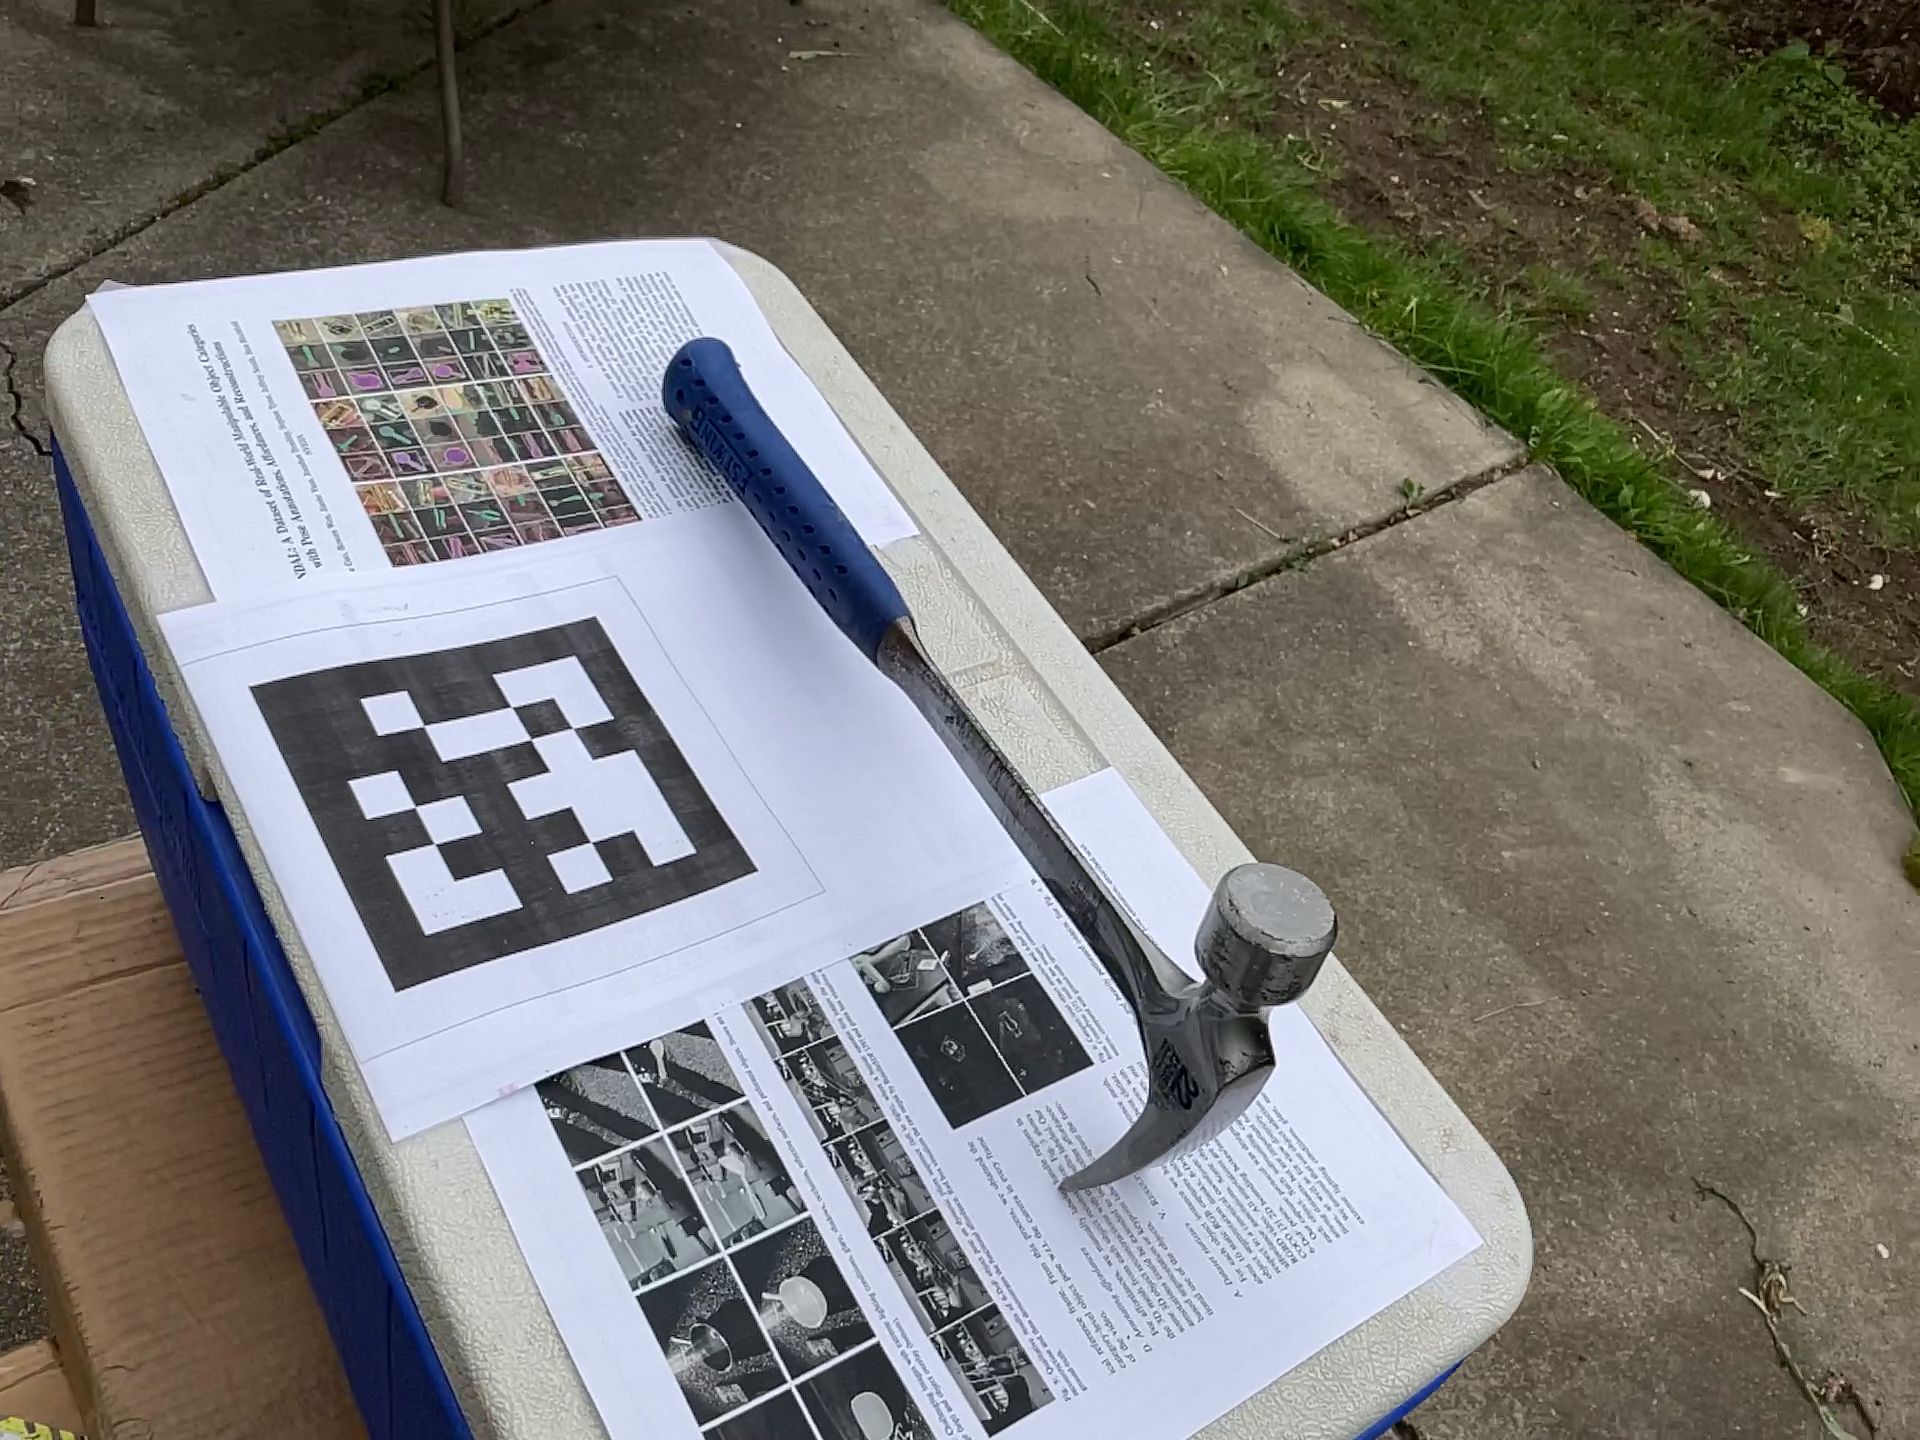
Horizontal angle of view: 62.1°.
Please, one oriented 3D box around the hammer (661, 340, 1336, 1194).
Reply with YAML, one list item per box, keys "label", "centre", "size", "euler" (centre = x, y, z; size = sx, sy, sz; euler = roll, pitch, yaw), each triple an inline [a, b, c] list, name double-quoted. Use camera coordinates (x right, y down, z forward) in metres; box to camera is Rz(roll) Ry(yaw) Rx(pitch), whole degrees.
- label: "hammer"
  centre: [-0.021, -0.015, 0.579]
  size: [0.035, 0.144, 0.406]
  euler: [-10, 45, -30]
